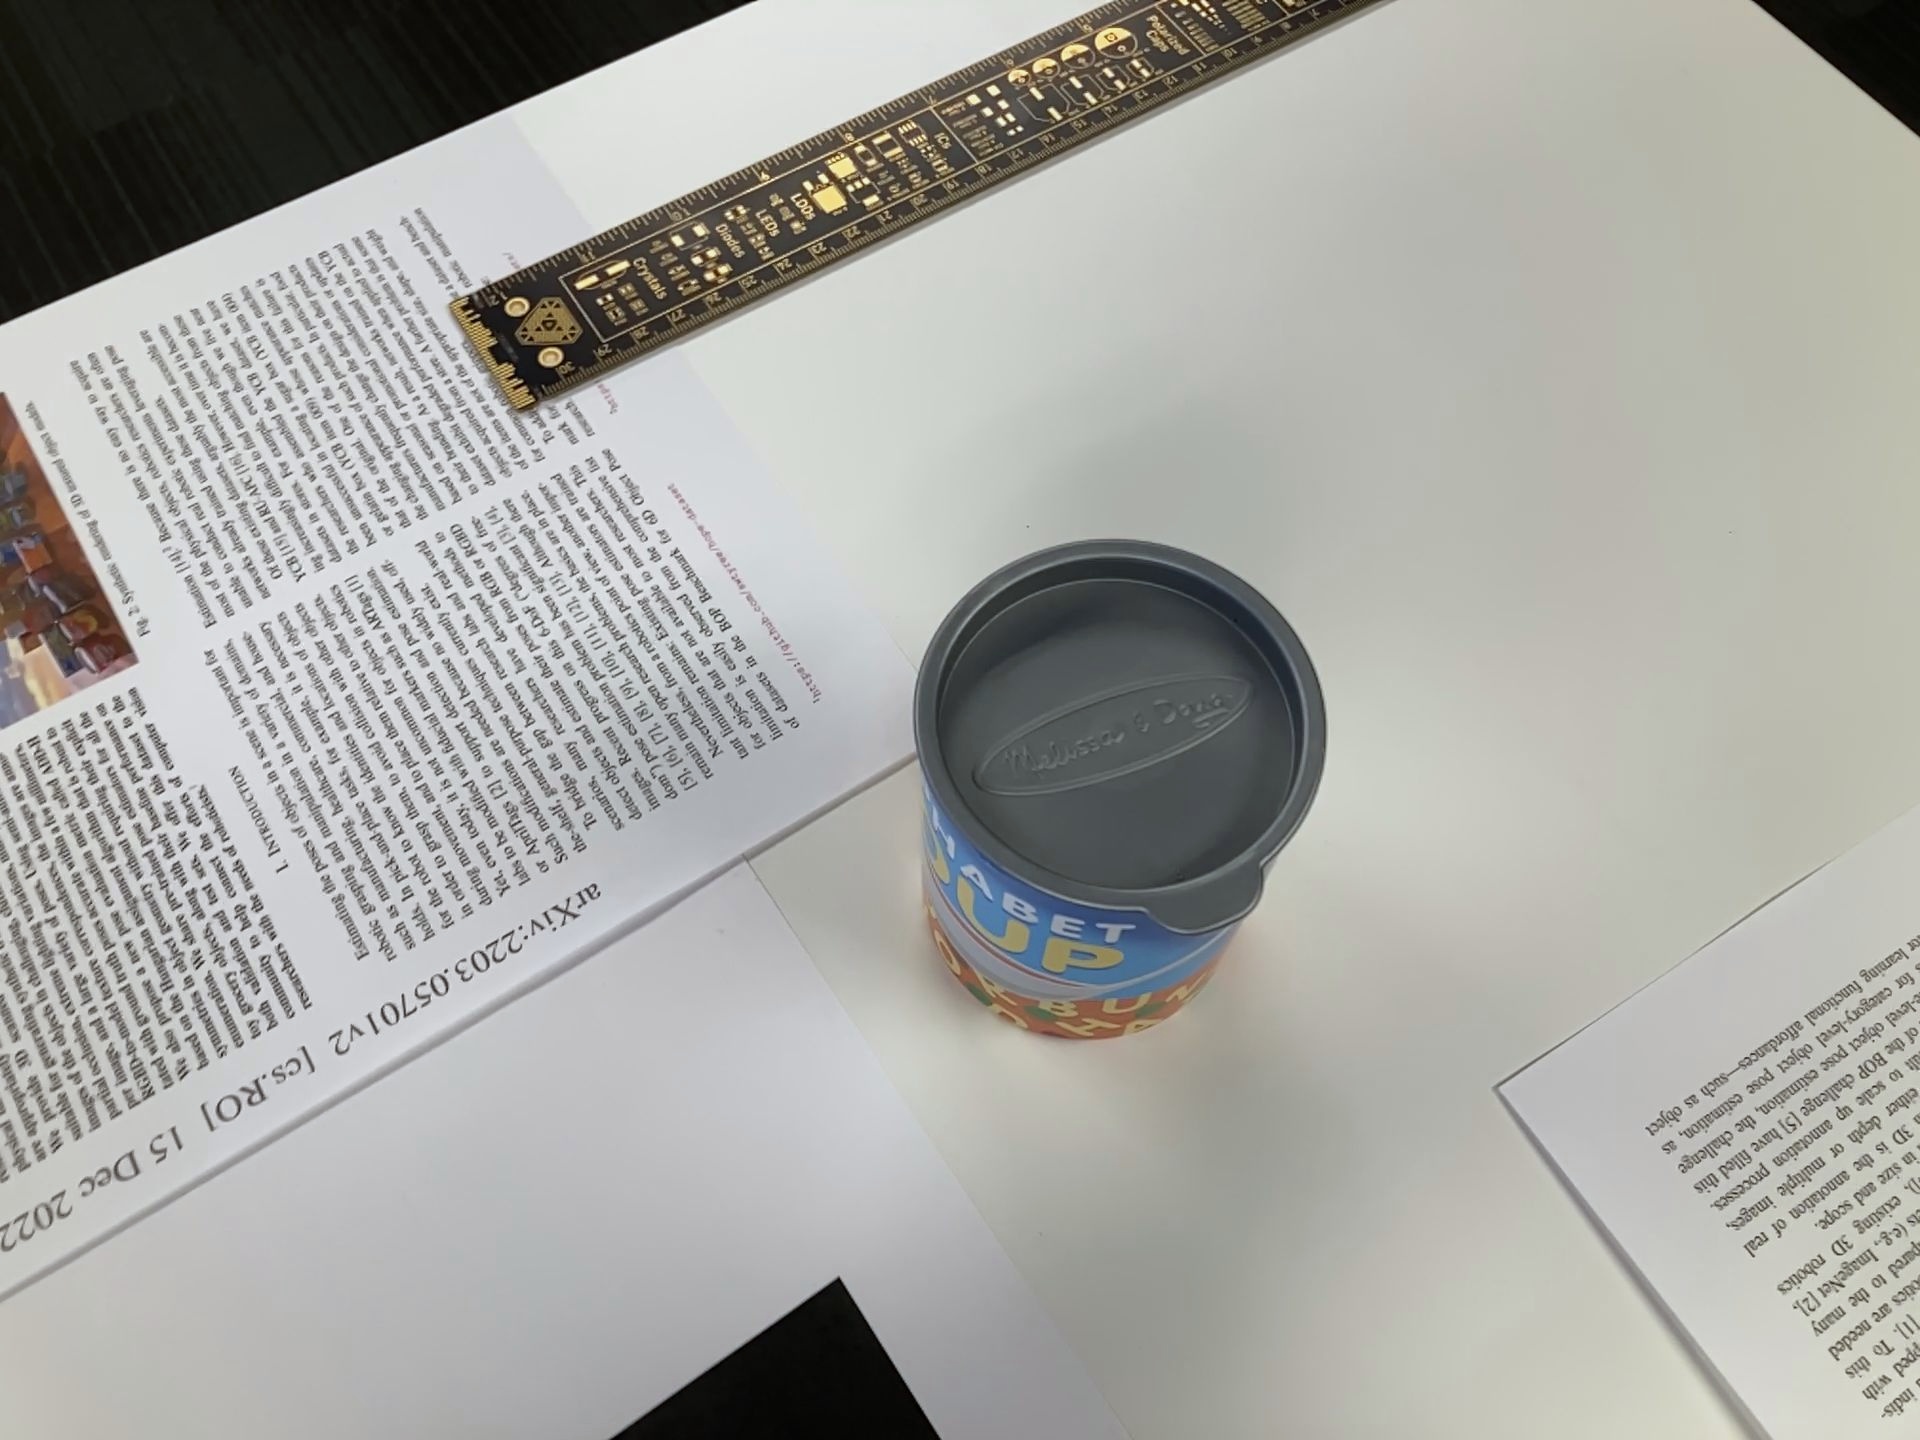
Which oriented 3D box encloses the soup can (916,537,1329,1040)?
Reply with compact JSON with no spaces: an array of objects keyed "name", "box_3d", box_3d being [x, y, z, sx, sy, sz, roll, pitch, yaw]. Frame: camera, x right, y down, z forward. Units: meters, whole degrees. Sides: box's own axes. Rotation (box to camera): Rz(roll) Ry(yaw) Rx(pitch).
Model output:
[{"name":"soup can","box_3d":[0.023,0.018,0.292,0.071,0.084,0.071,0,63,-1]}]
